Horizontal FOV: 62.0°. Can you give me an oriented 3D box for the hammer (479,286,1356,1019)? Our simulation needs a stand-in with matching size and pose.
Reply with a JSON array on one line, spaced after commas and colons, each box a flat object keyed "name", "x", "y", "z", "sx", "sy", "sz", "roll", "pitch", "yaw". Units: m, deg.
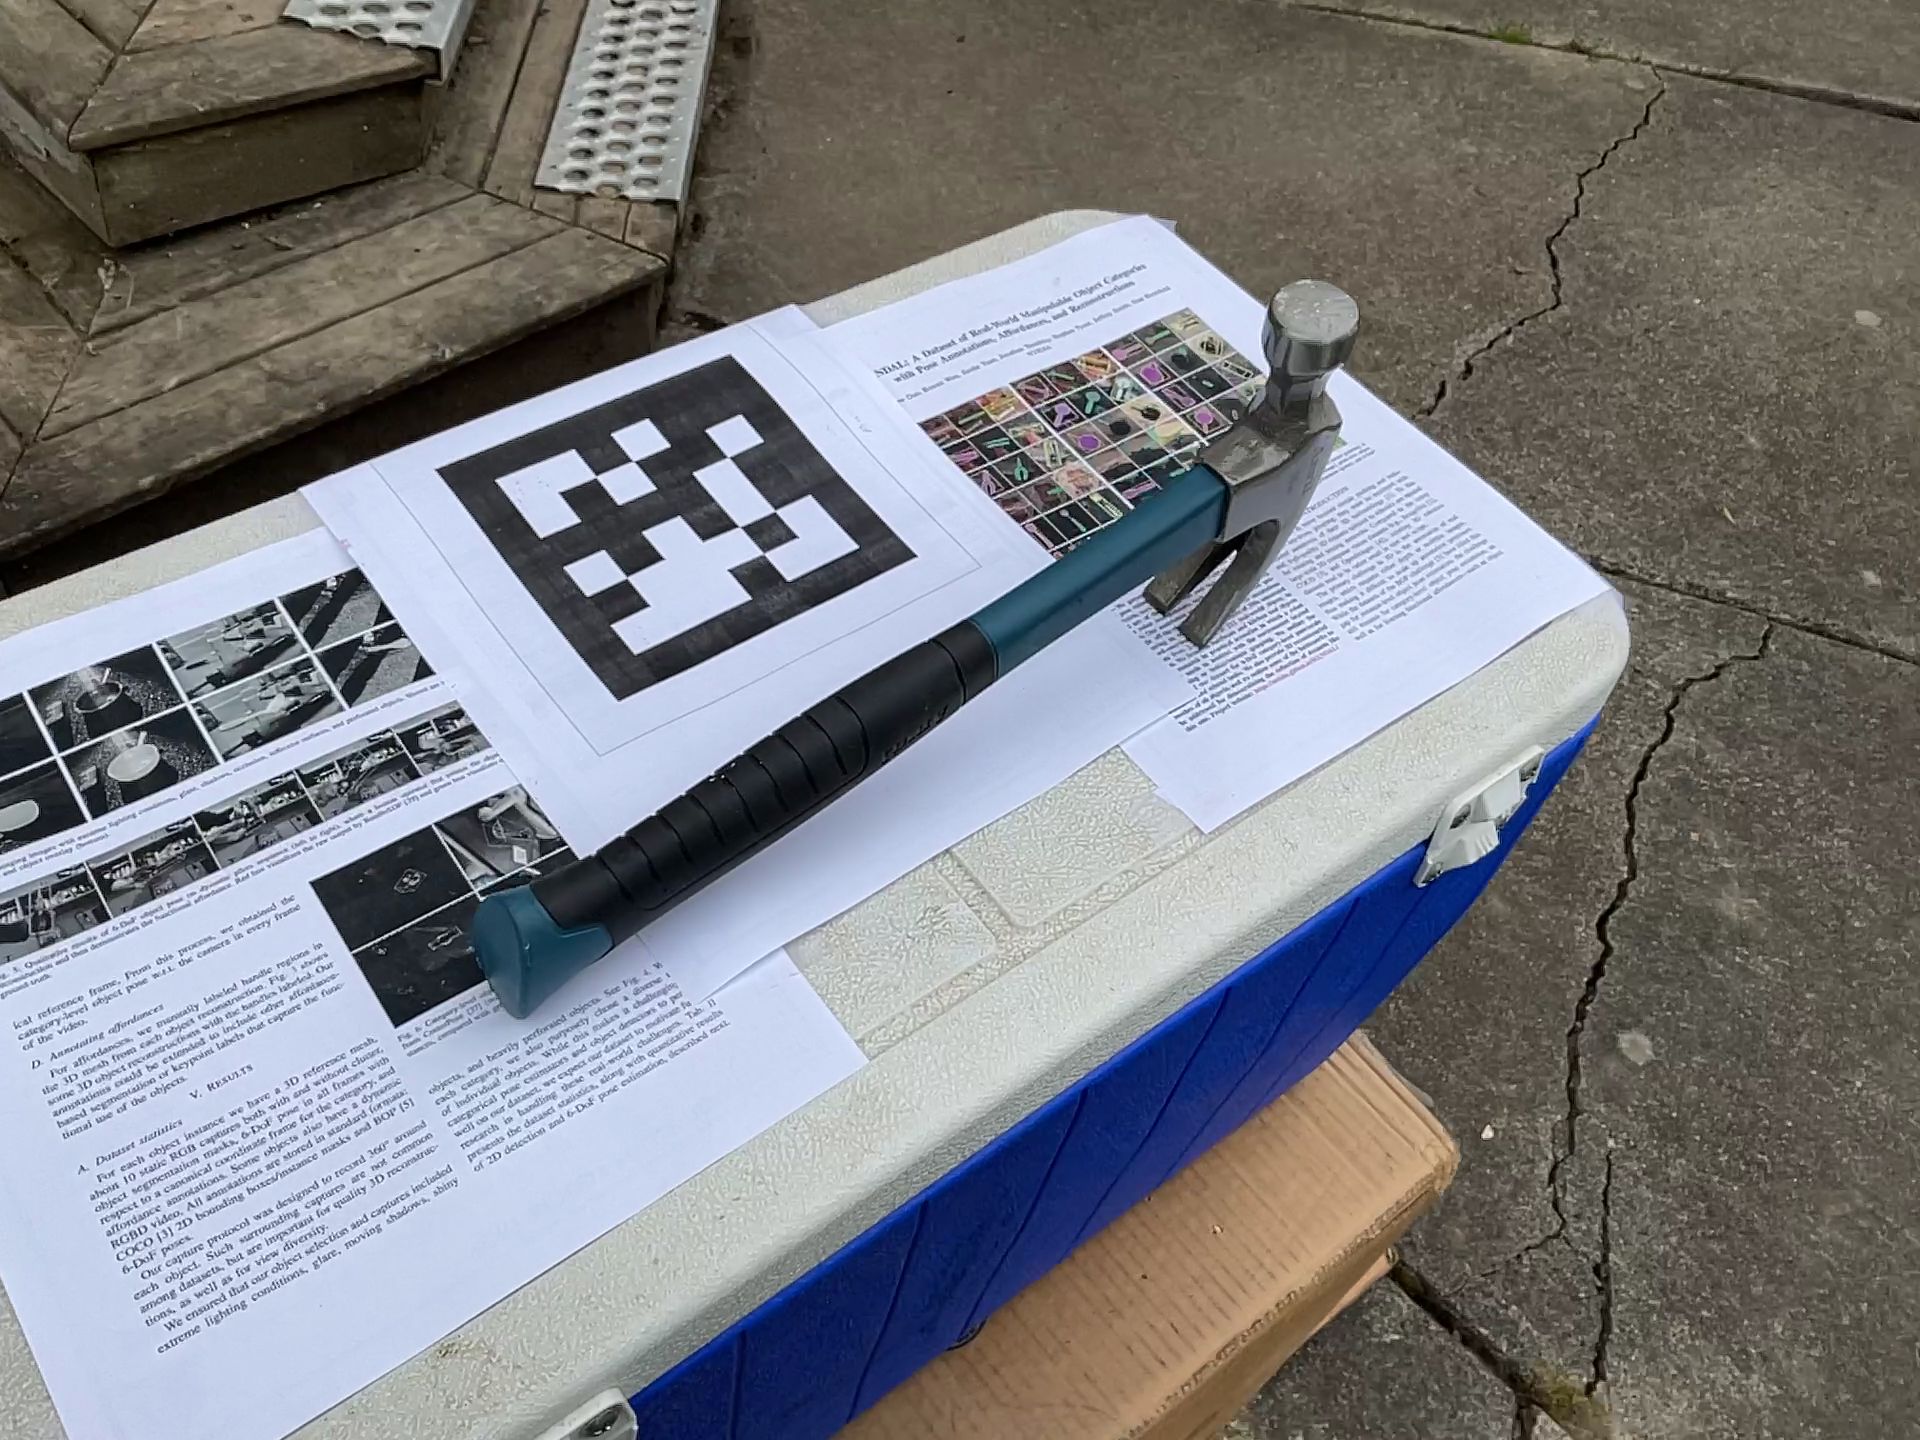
[{"name": "hammer", "x": -0.005, "y": -0.015, "z": 0.511, "sx": 0.331, "sy": 0.128, "sz": 0.033, "roll": -34, "pitch": 62, "yaw": -20}]
